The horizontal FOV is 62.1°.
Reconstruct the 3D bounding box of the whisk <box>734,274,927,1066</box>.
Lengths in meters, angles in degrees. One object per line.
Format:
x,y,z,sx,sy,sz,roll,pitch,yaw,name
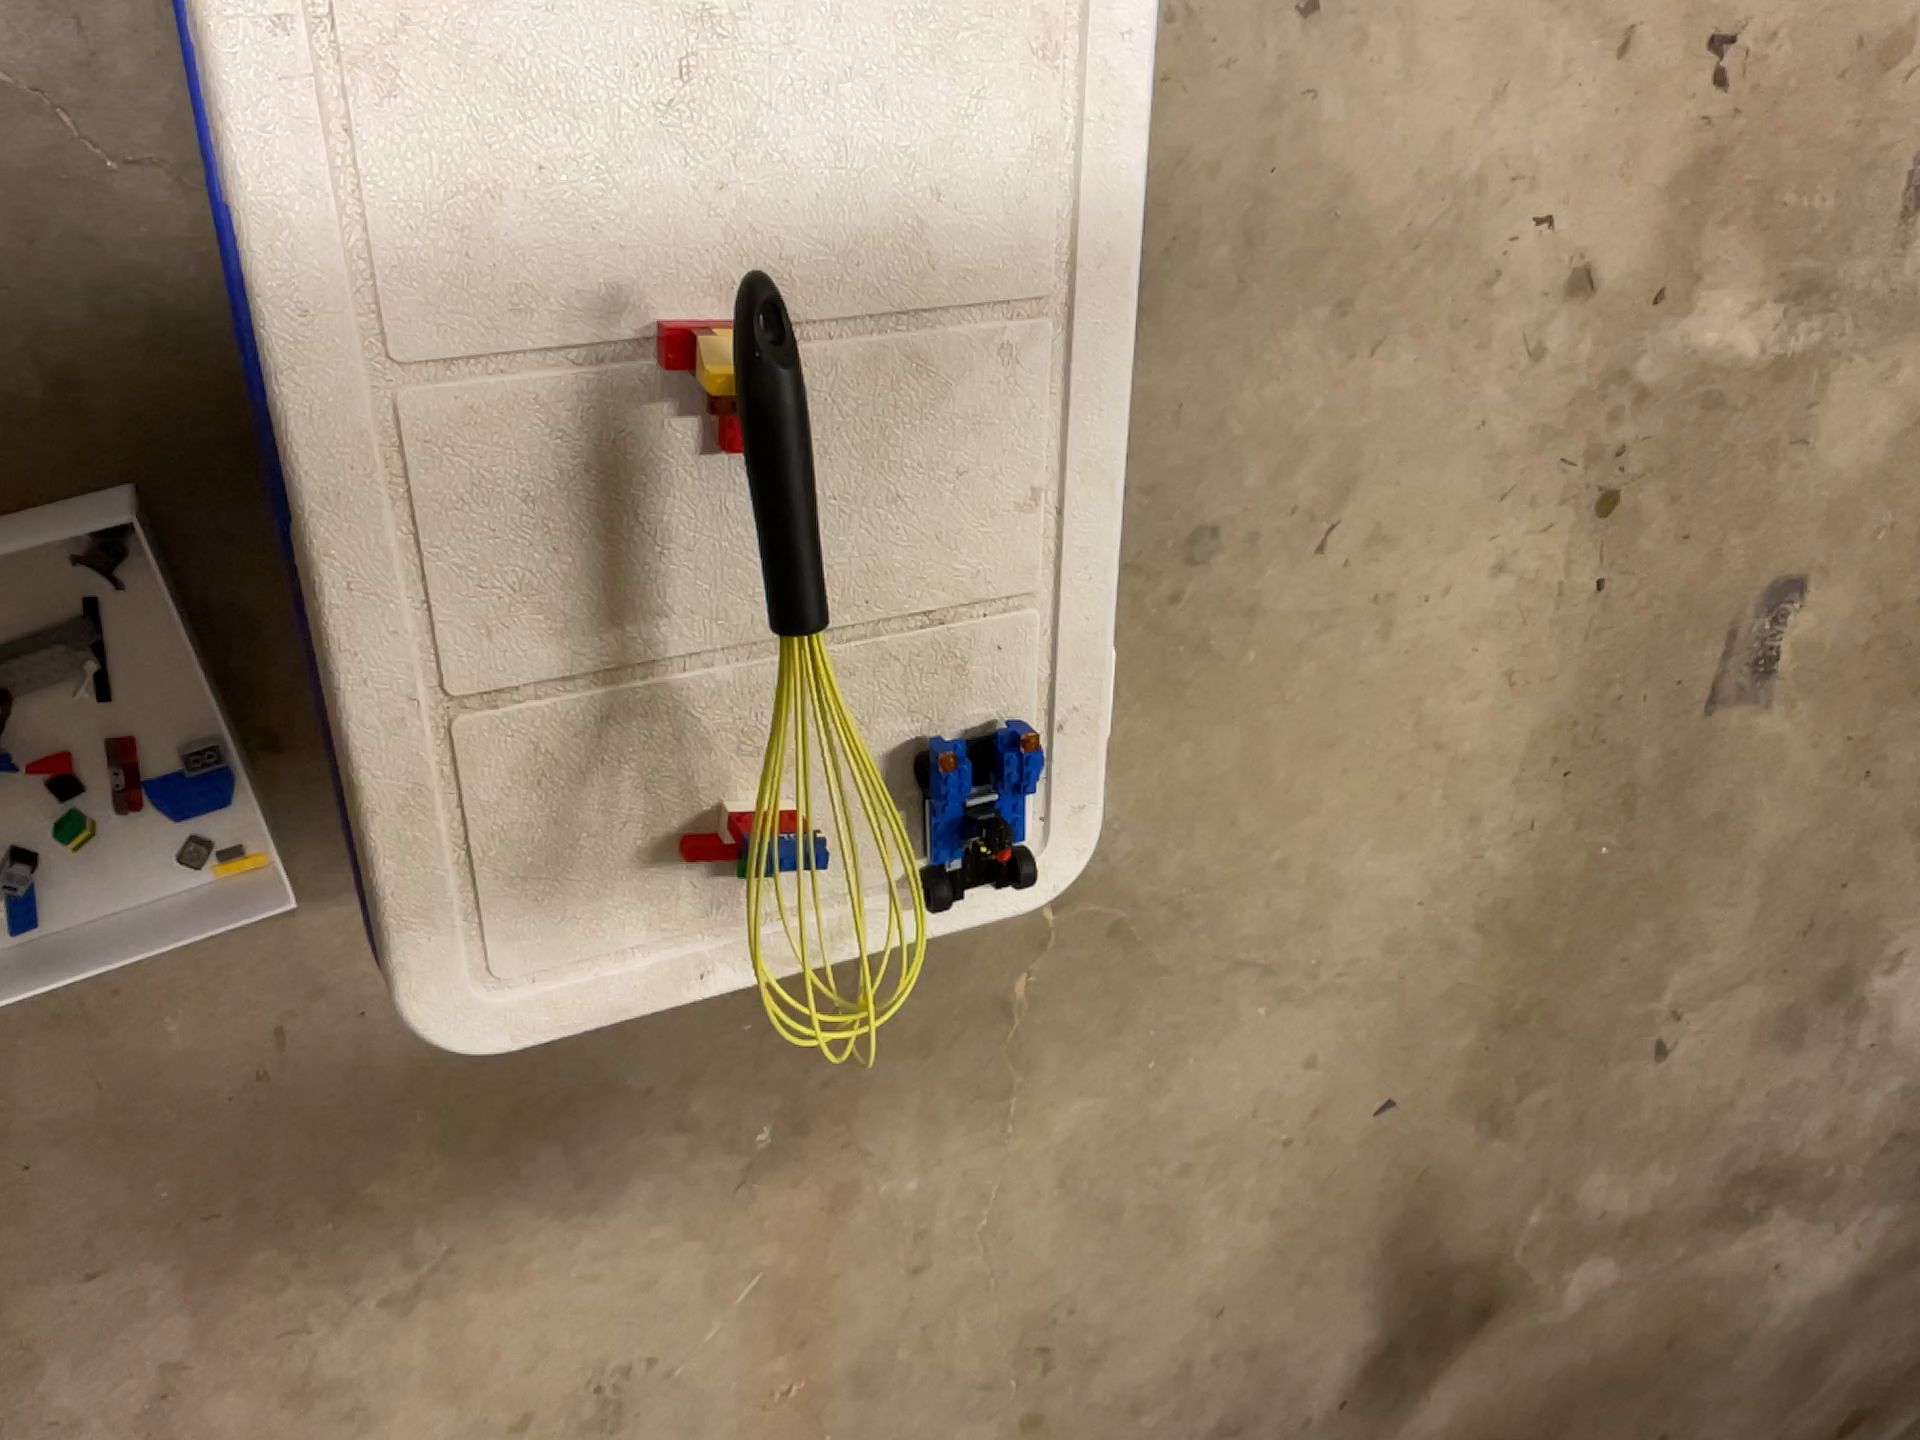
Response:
-0.058,-0.007,0.598,0.080,0.067,0.311,-49,138,-59,whisk
